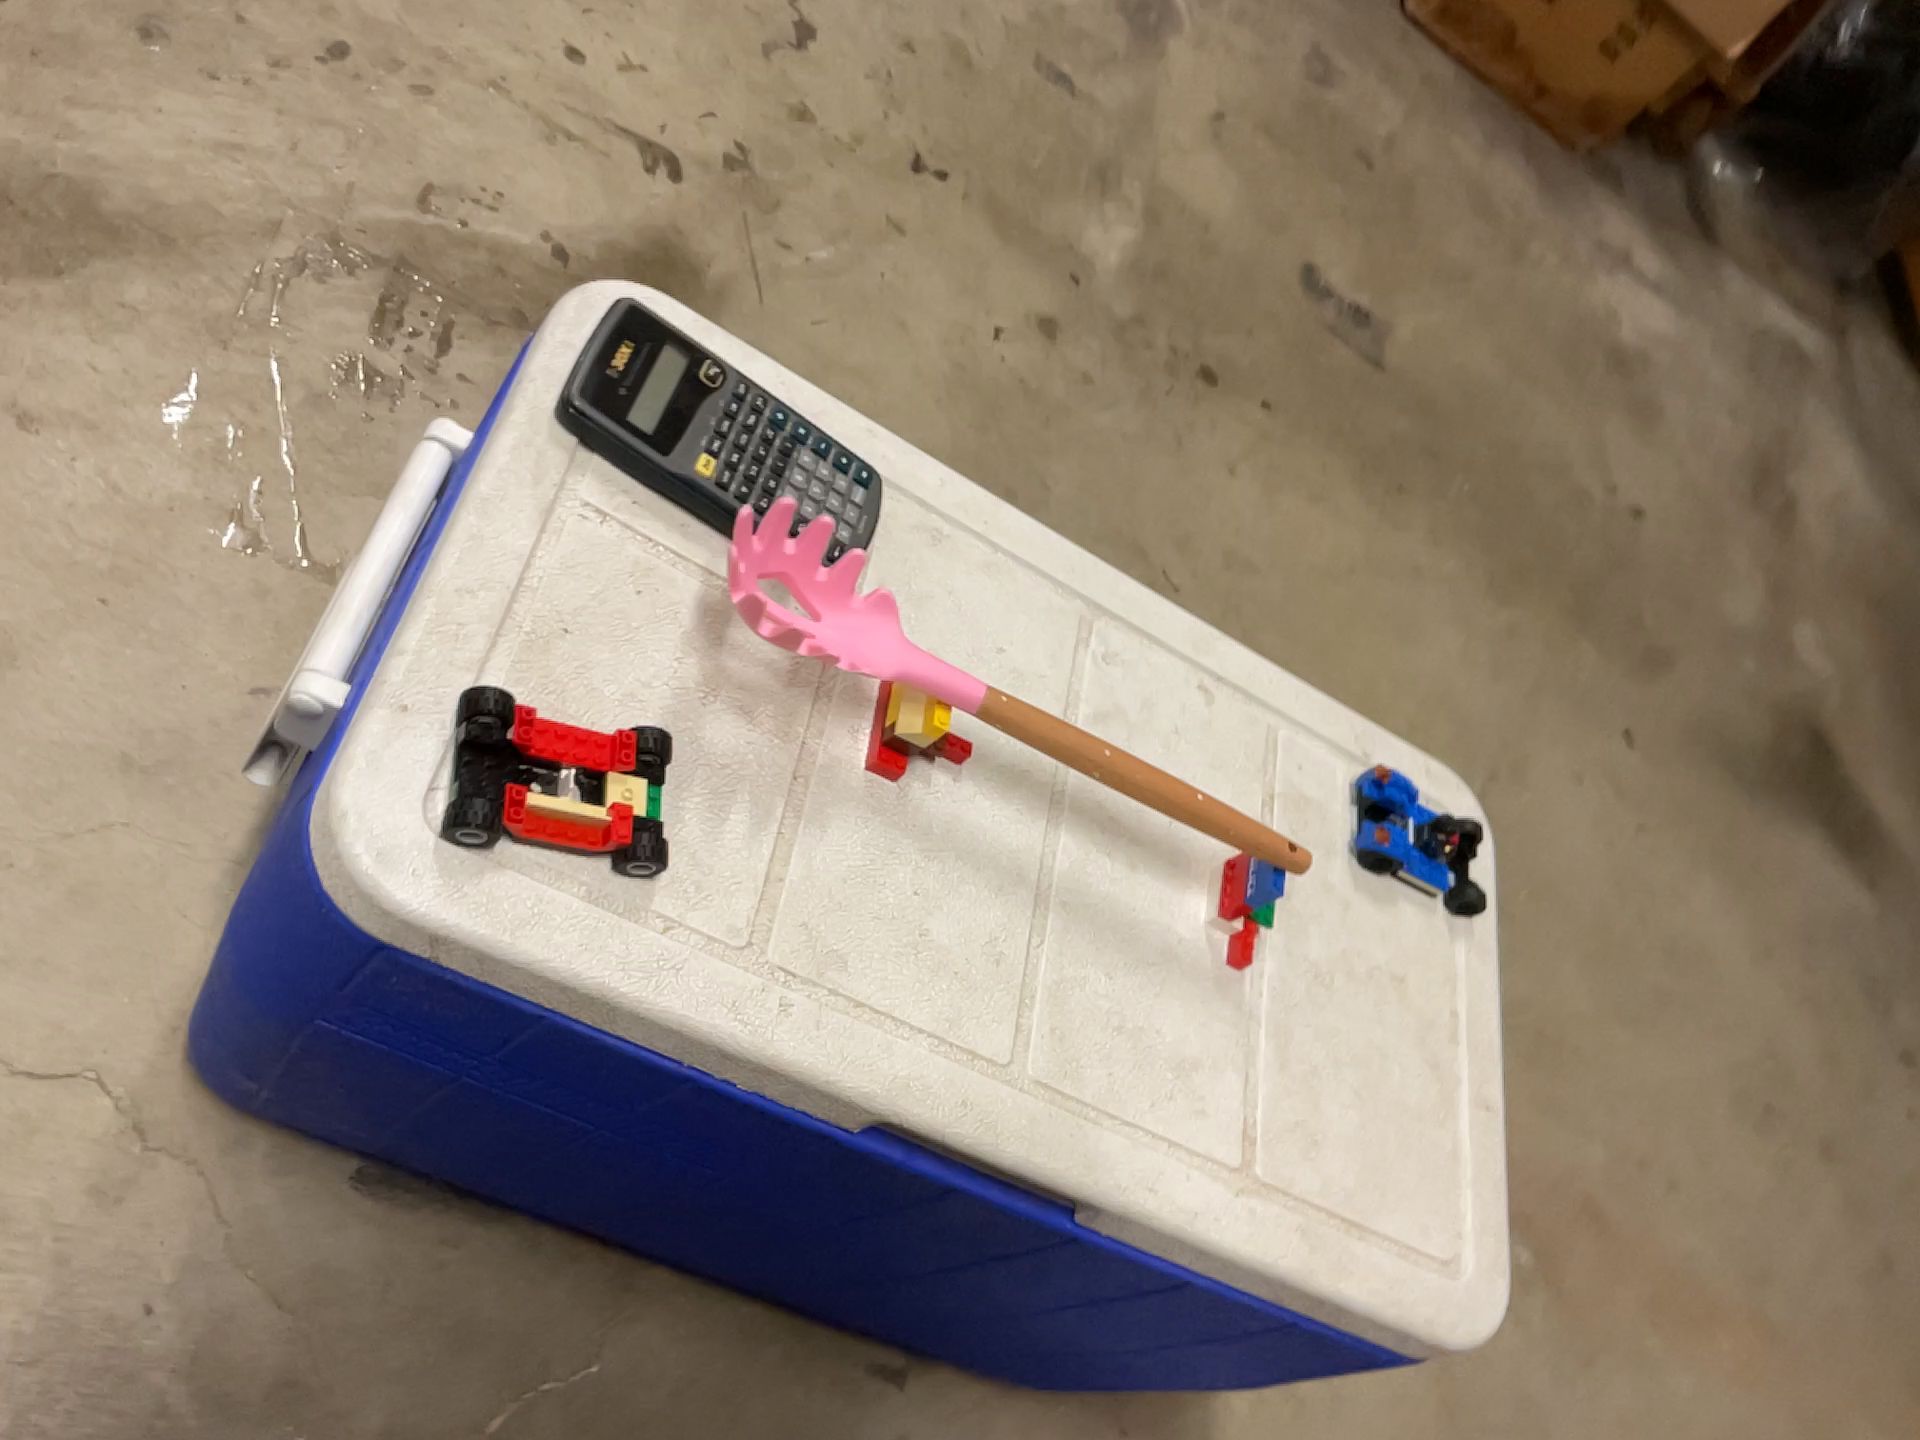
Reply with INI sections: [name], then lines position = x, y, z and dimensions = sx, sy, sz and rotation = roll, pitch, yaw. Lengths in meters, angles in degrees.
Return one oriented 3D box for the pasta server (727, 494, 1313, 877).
[pasta server]
position = 0.034, -0.001, 0.687
dimensions = 0.316, 0.040, 0.060
rotation = 27, 53, -21
